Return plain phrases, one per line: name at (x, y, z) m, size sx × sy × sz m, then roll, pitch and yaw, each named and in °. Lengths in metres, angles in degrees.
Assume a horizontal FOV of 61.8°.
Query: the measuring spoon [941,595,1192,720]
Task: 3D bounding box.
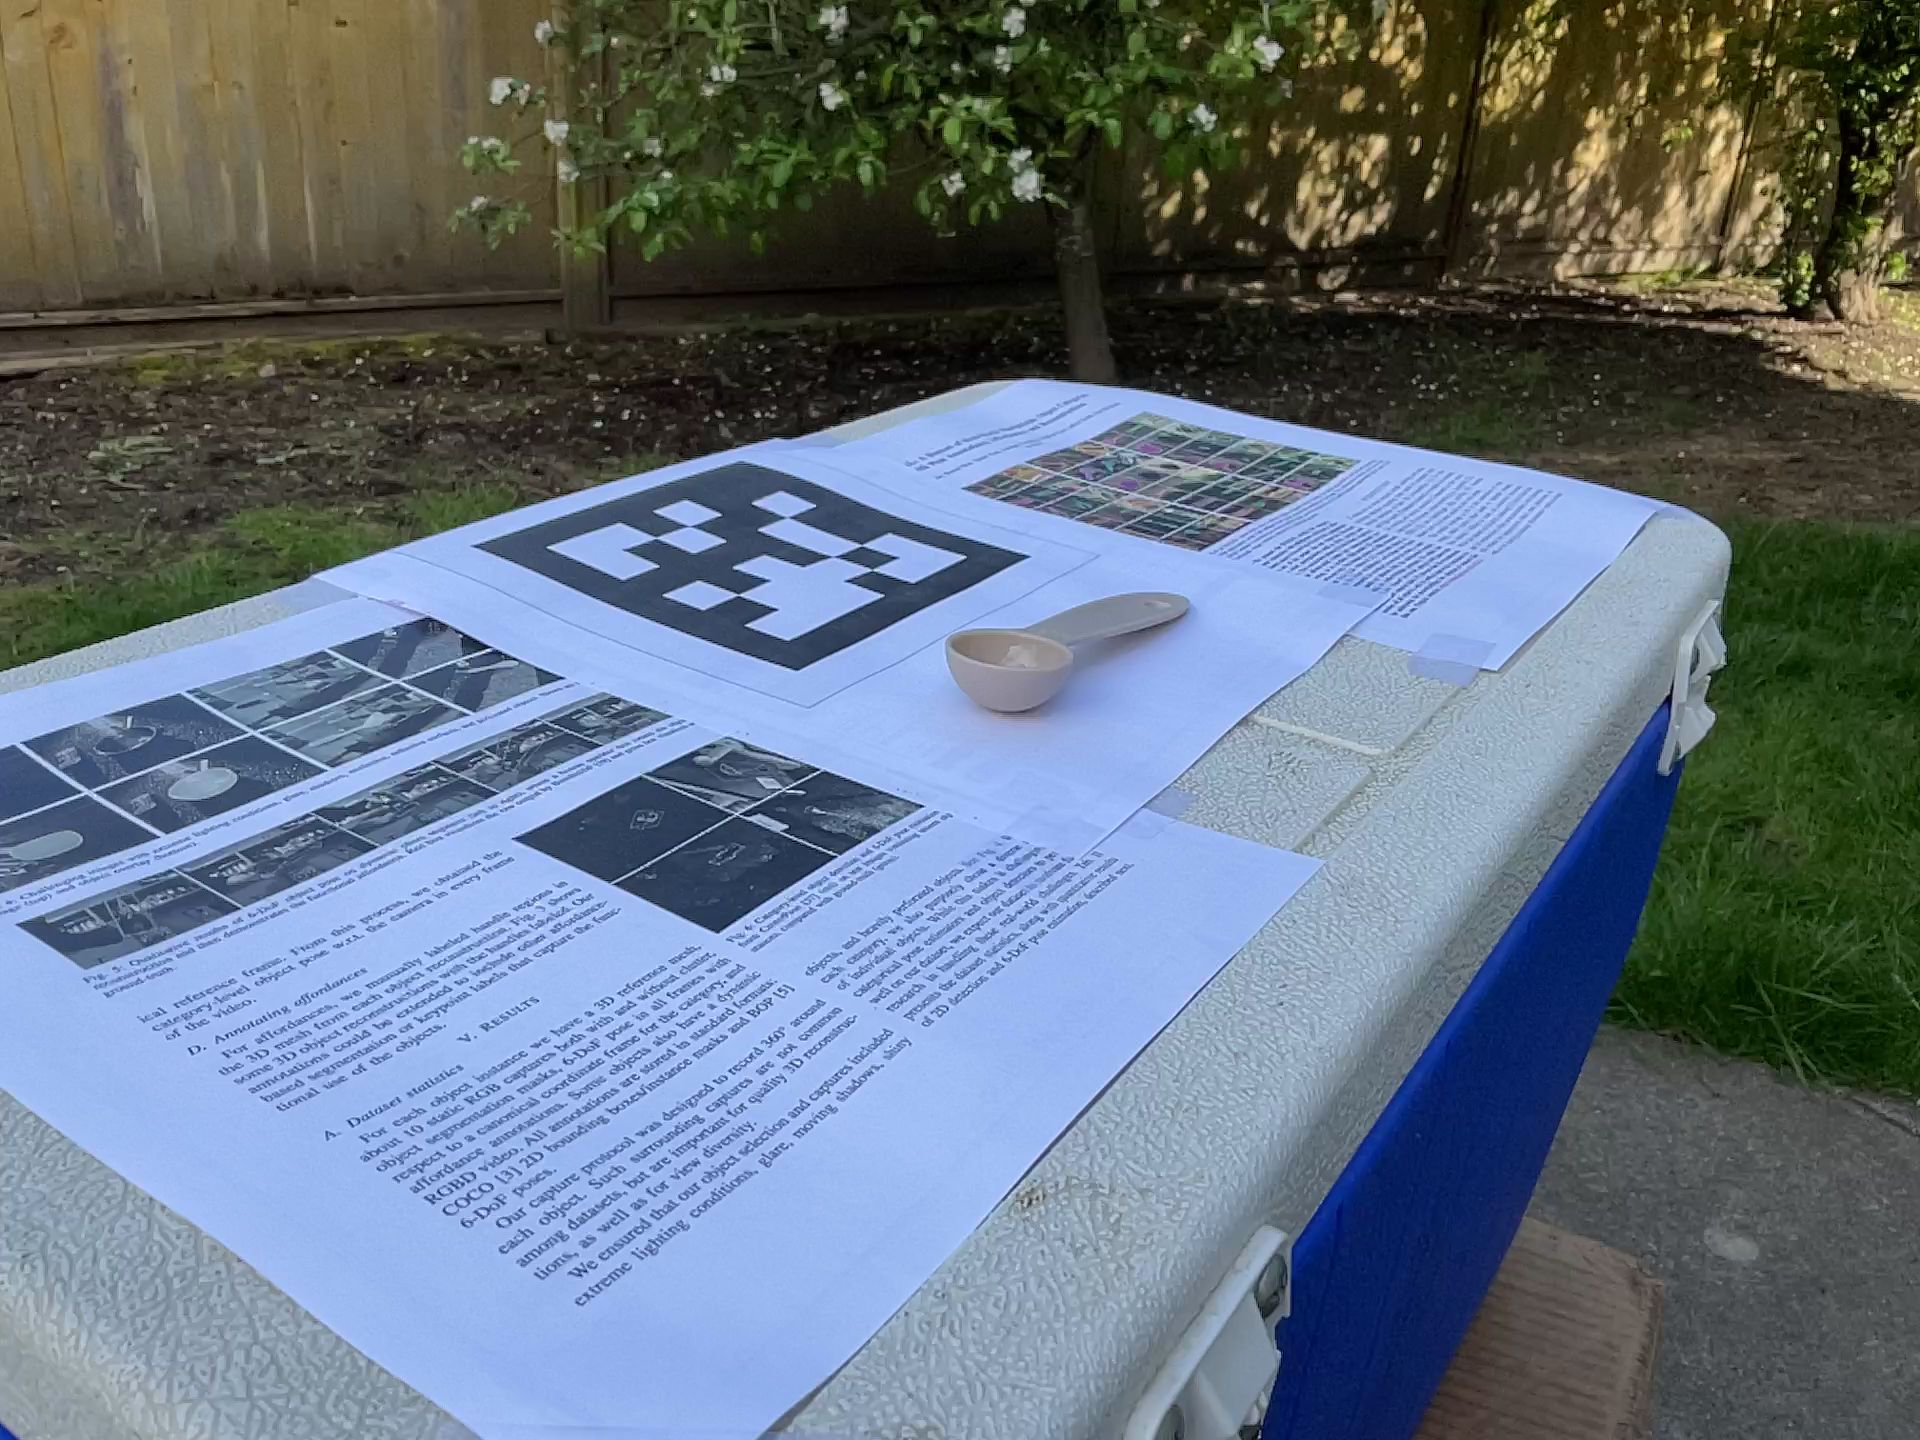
measuring spoon at (0.035, -0.019, 0.452) m, size 0.034 × 0.018 × 0.124 m, roll 17°, pitch 21°, yaw 29°
